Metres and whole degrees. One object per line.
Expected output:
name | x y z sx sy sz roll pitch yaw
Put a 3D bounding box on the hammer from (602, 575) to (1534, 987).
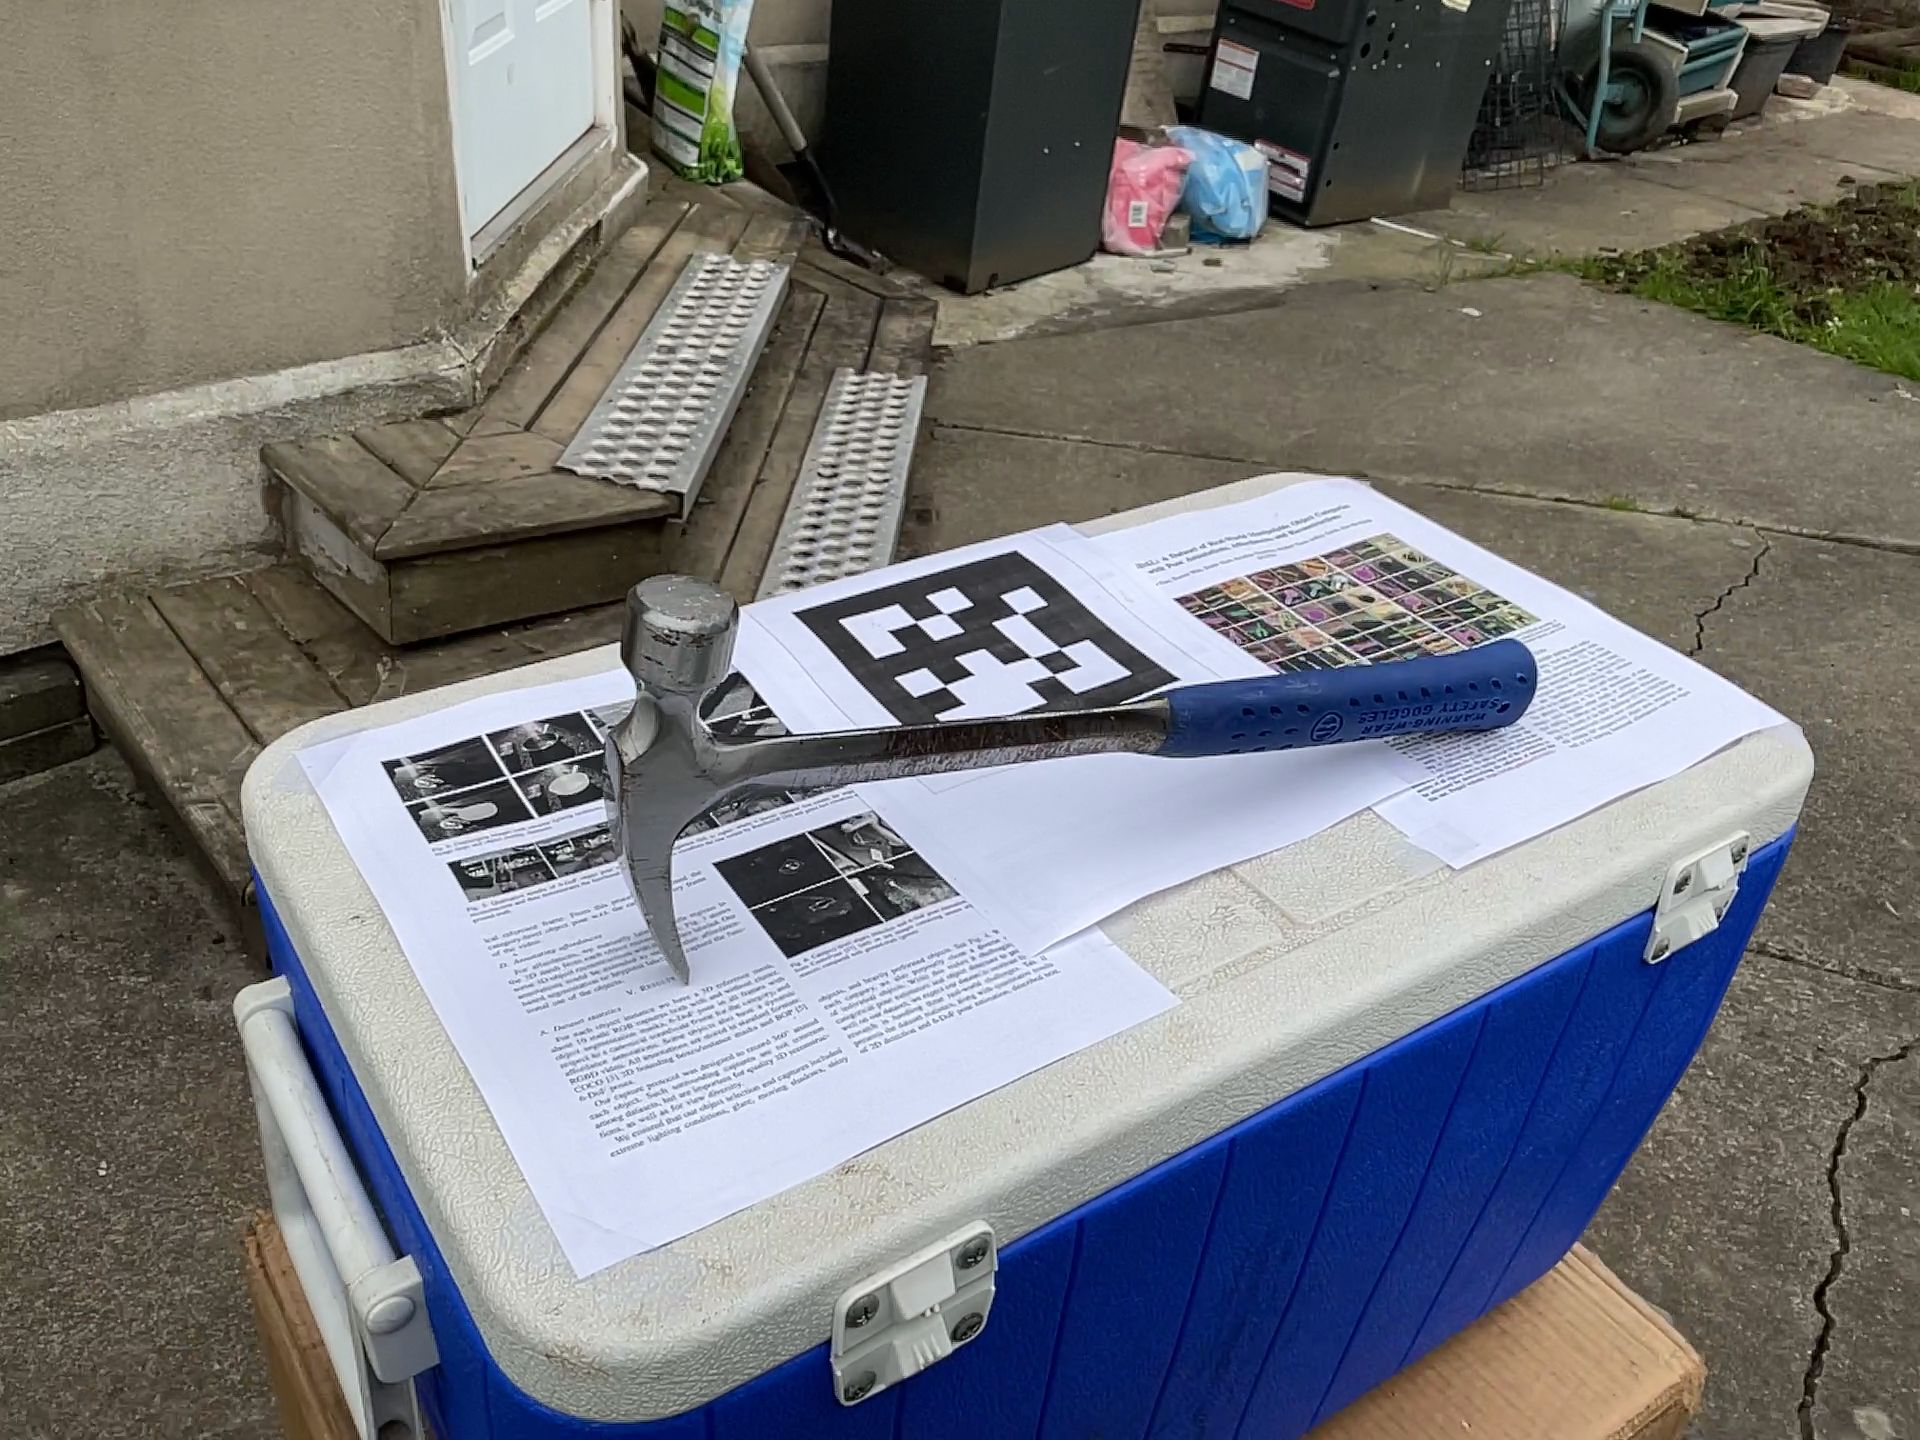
hammer | 0.062 0.007 0.604 0.405 0.144 0.035 -6 36 -30
